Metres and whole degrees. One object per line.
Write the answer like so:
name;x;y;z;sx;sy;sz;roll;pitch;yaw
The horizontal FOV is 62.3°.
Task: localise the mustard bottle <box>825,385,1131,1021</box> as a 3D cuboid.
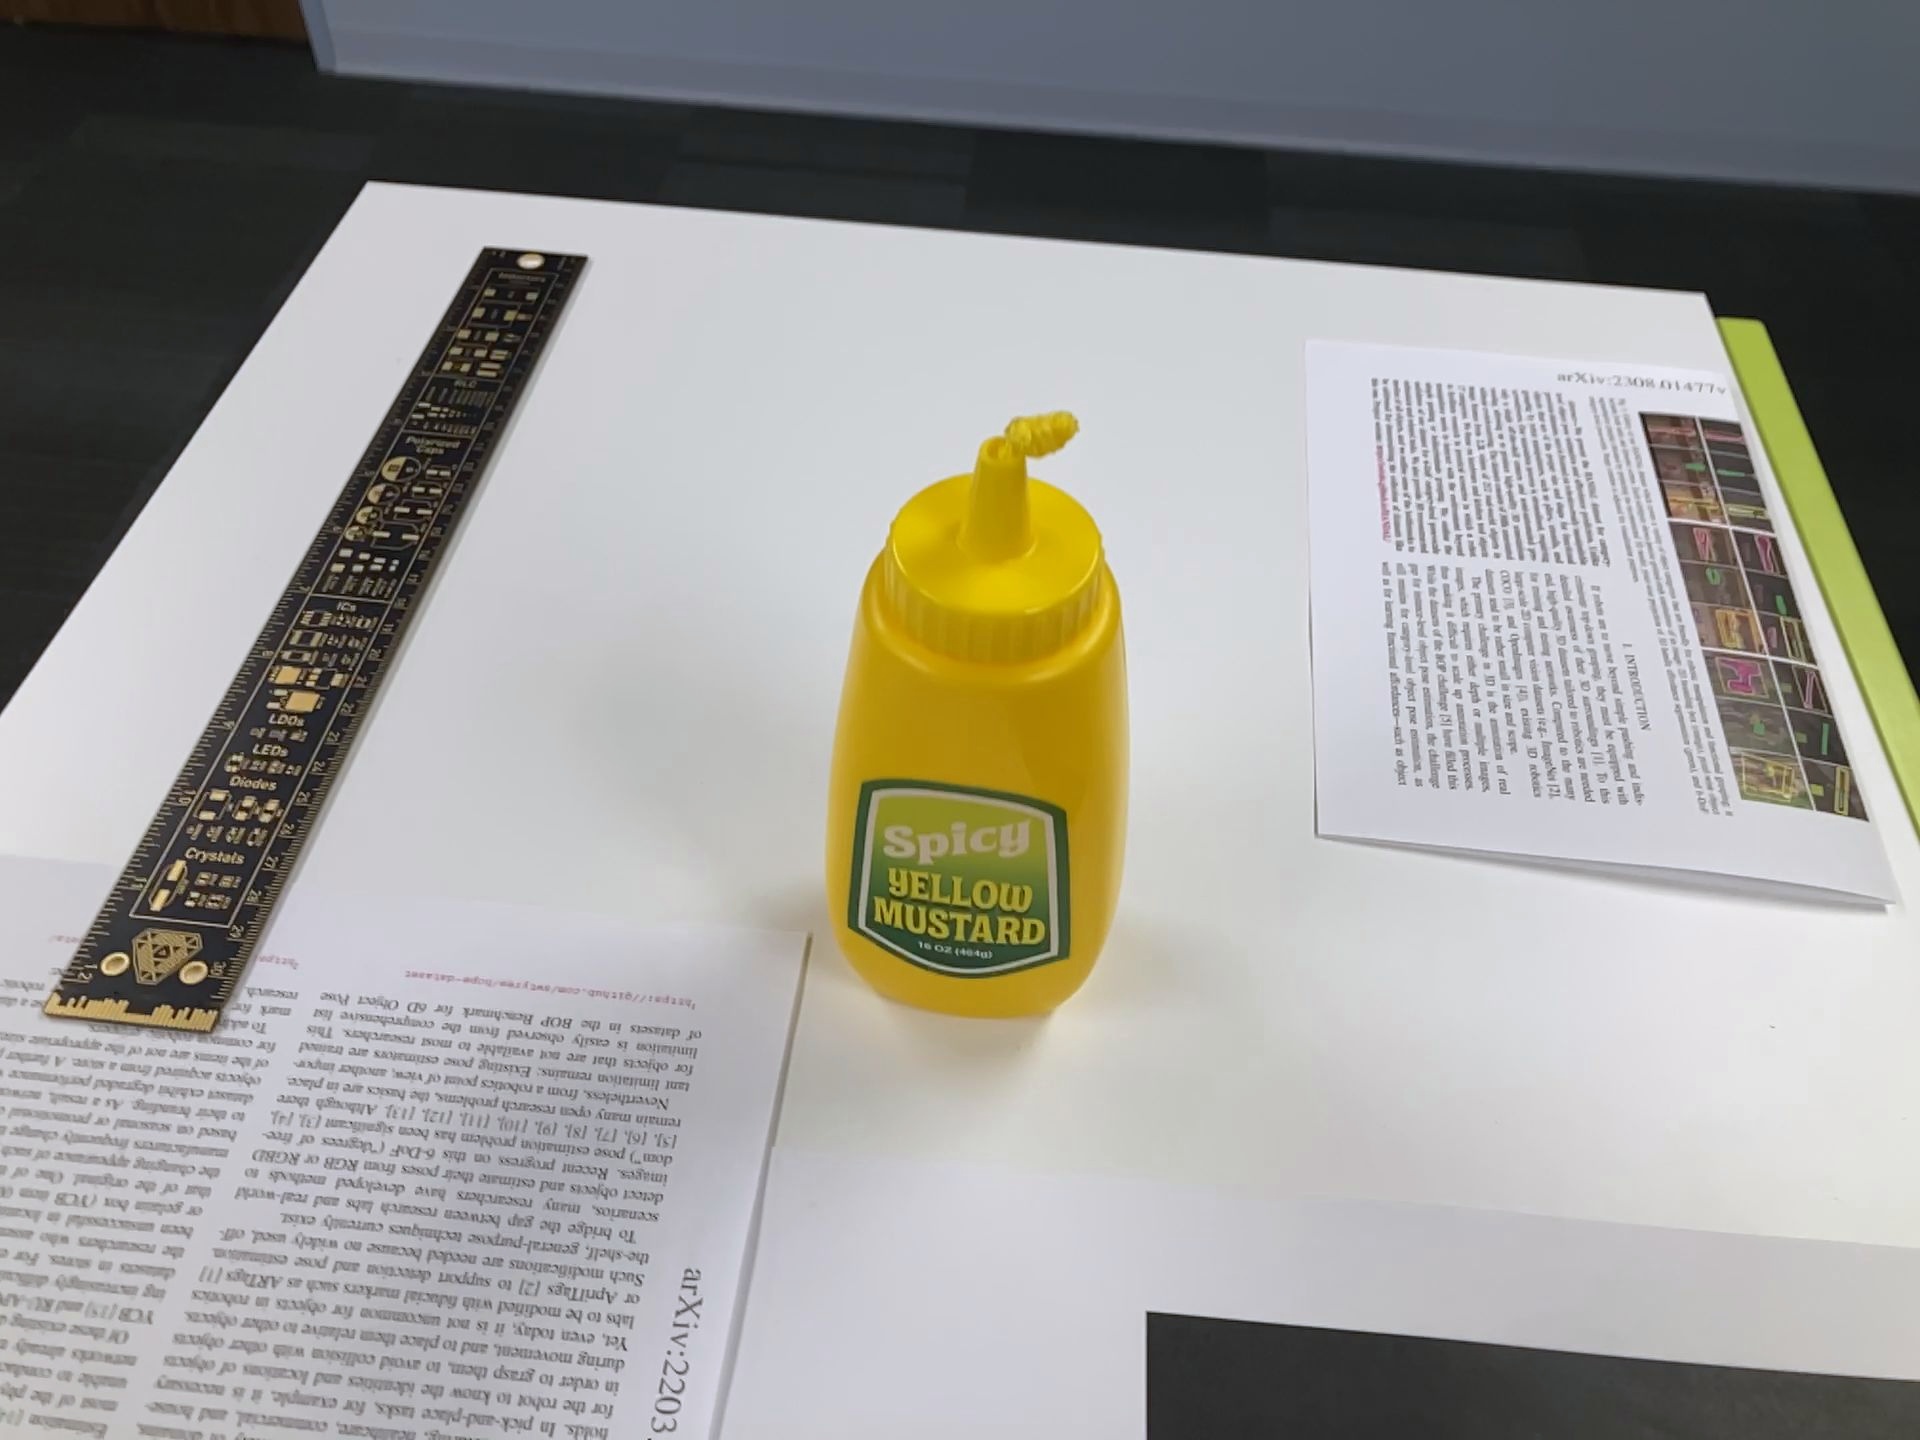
mustard bottle;0.004;0.001;0.317;0.065;0.160;0.049;8;49;6
